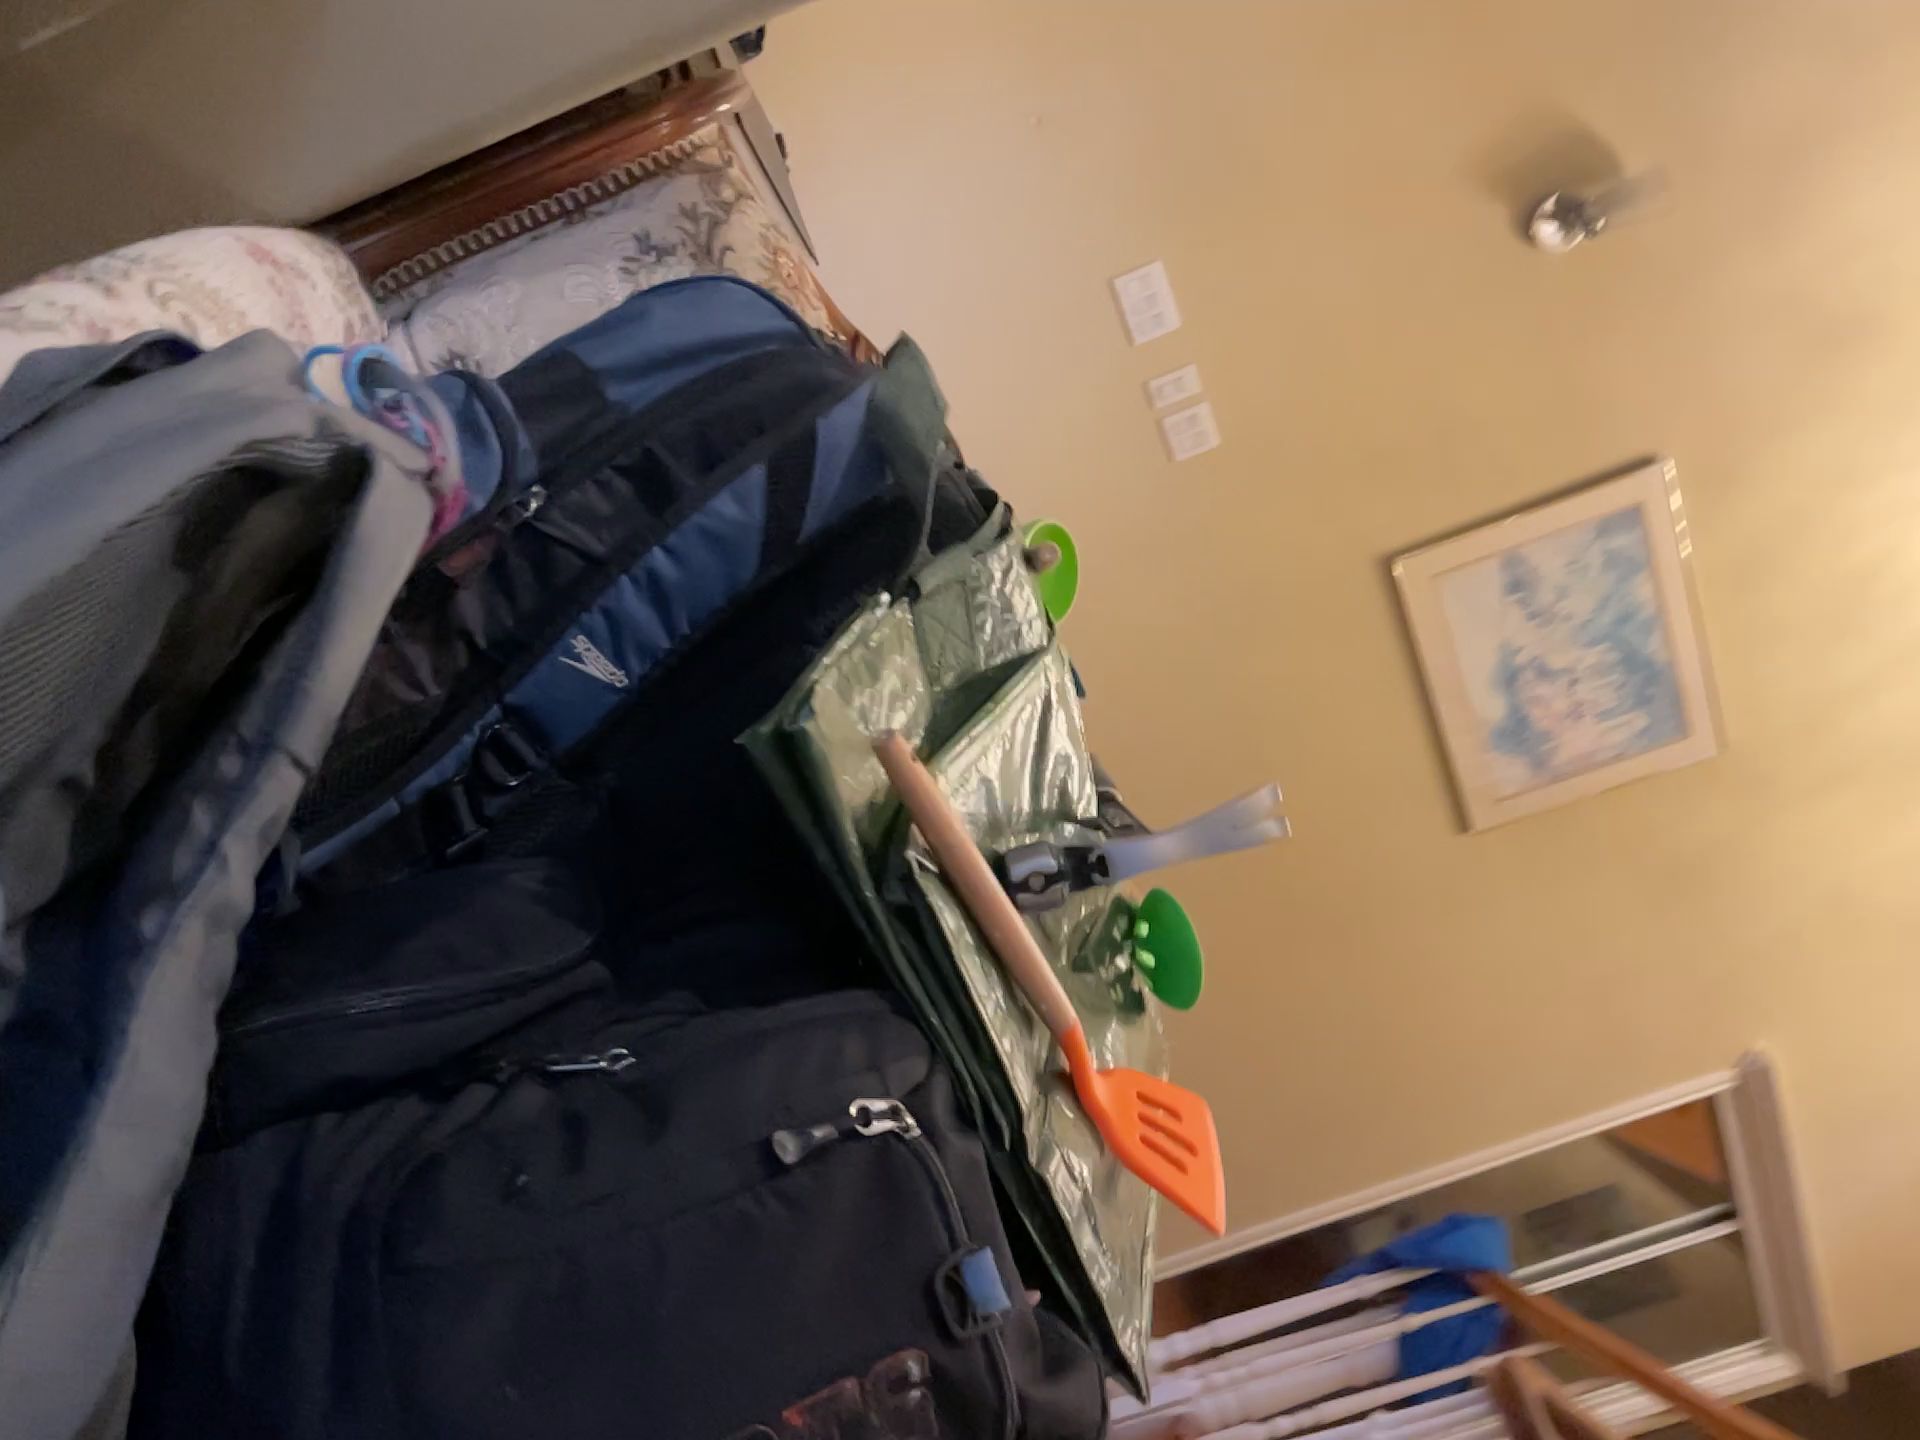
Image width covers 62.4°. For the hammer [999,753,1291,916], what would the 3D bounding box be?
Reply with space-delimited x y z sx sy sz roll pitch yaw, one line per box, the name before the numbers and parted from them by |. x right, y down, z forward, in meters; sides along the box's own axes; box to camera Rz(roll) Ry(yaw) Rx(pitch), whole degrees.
hammer | 0.092 0.052 0.982 0.409 0.149 0.036 -99 176 -86

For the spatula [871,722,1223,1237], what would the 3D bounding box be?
spatula | 0.045 0.119 0.719 0.081 0.041 0.322 -88 153 -53

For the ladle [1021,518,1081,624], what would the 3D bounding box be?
ladle | 0.056 -0.095 0.983 0.320 0.062 0.078 -97 -169 -87

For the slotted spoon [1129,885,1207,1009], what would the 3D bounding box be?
slotted spoon | 0.110 0.121 1.023 0.314 0.031 0.070 -129 -148 -84

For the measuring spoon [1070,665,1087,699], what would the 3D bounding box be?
measuring spoon | 0.058 -0.040 1.000 0.128 0.021 0.042 48 20 -72
